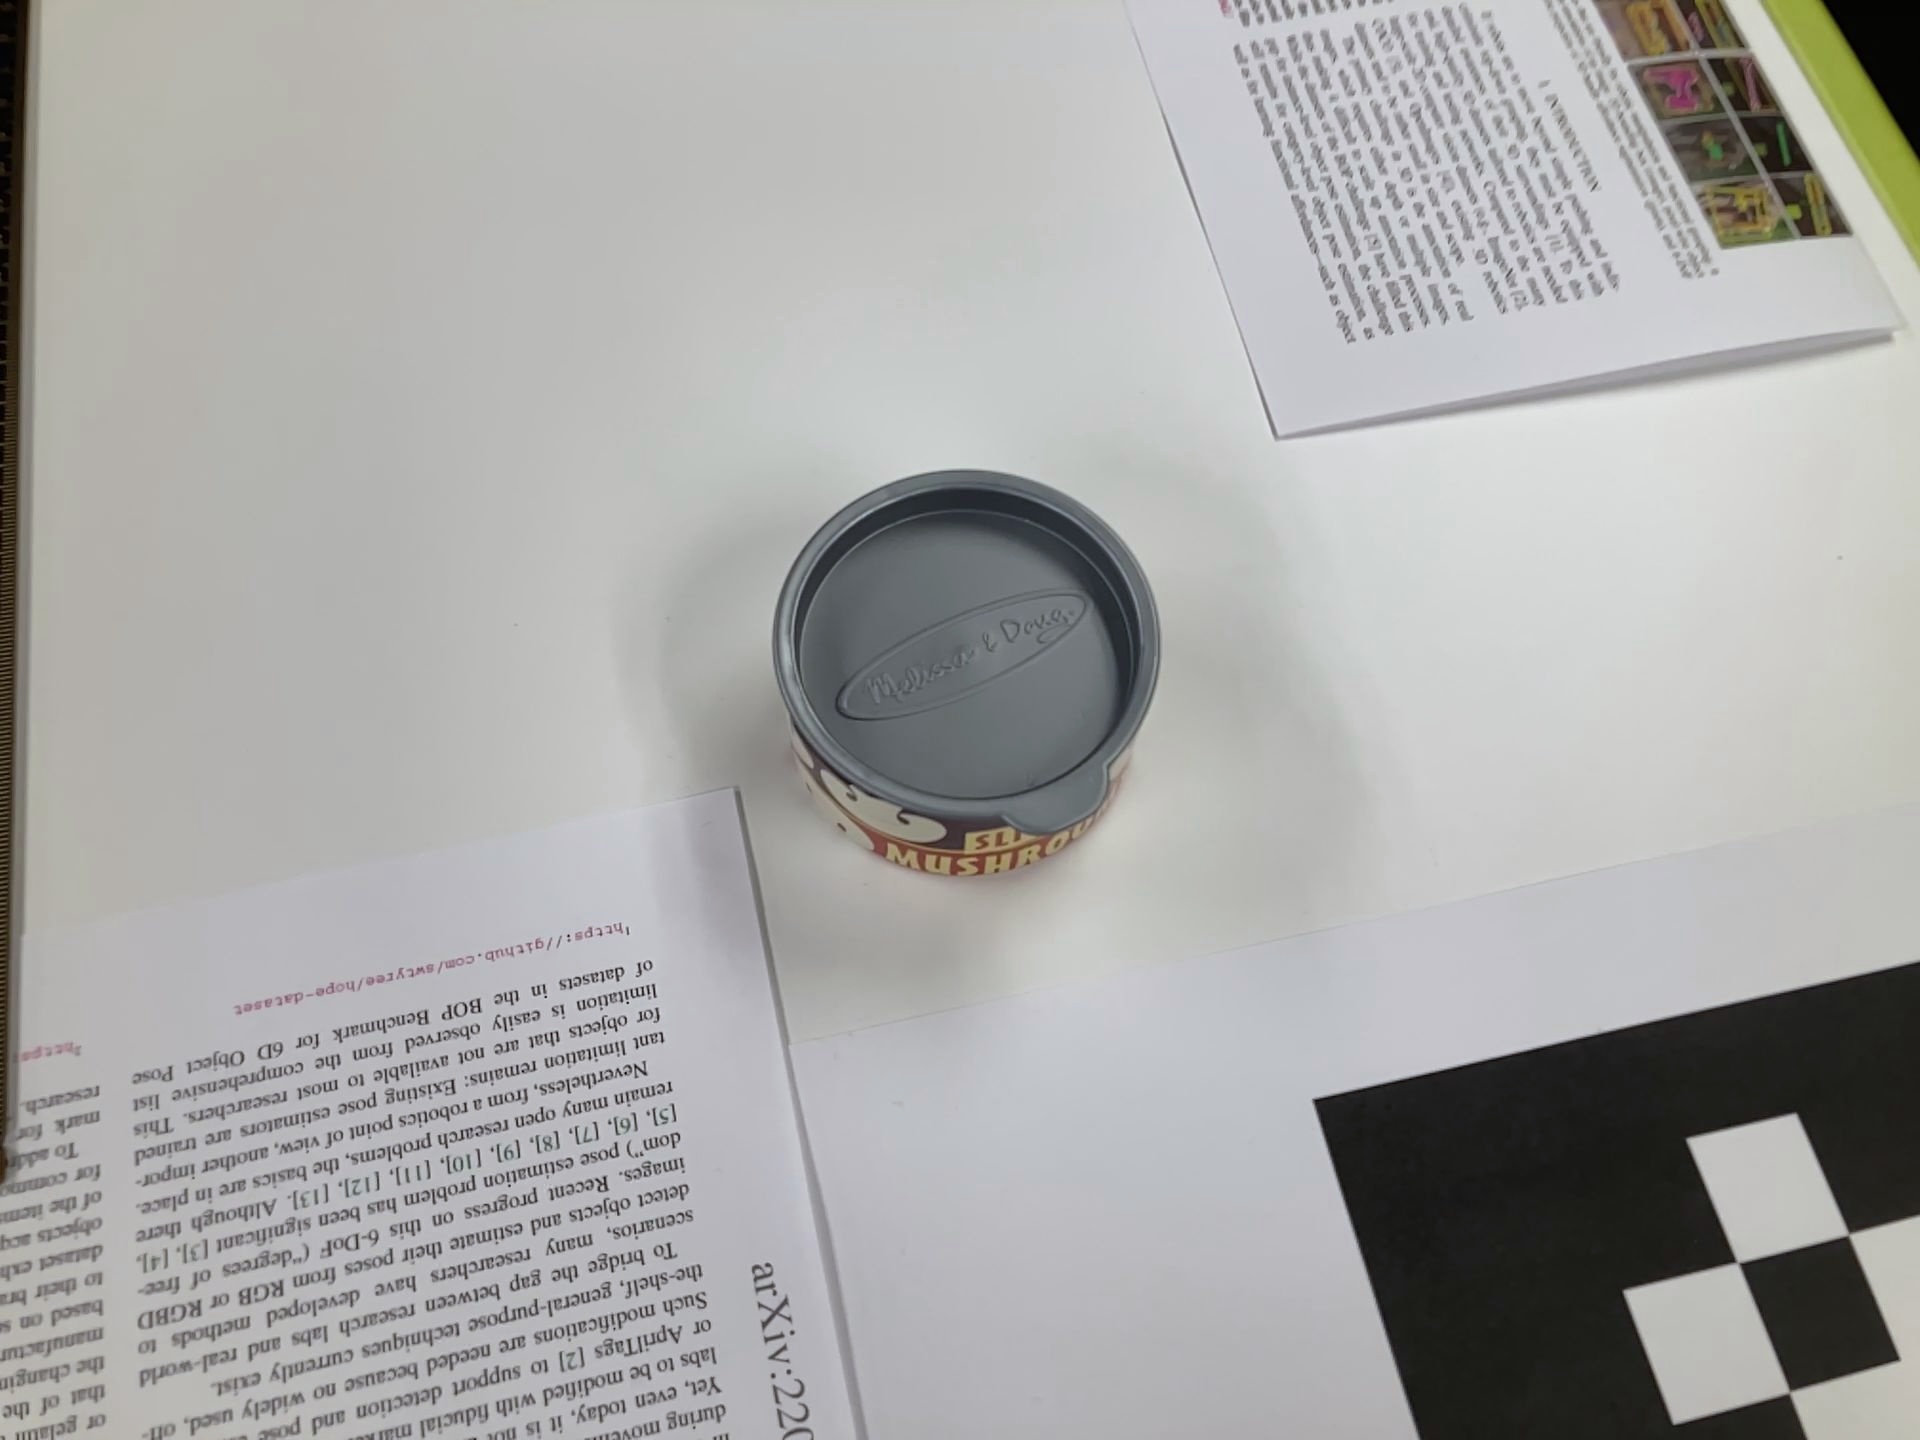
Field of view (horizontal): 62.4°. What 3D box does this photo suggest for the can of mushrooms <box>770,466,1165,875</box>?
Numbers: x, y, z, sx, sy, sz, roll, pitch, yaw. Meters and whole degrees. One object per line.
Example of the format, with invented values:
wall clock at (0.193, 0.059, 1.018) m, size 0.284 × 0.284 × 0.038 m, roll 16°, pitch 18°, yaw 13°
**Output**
can of mushrooms at (0.002, -0.006, 0.278) m, size 0.071 × 0.033 × 0.071 m, roll 1°, pitch 65°, yaw -2°
